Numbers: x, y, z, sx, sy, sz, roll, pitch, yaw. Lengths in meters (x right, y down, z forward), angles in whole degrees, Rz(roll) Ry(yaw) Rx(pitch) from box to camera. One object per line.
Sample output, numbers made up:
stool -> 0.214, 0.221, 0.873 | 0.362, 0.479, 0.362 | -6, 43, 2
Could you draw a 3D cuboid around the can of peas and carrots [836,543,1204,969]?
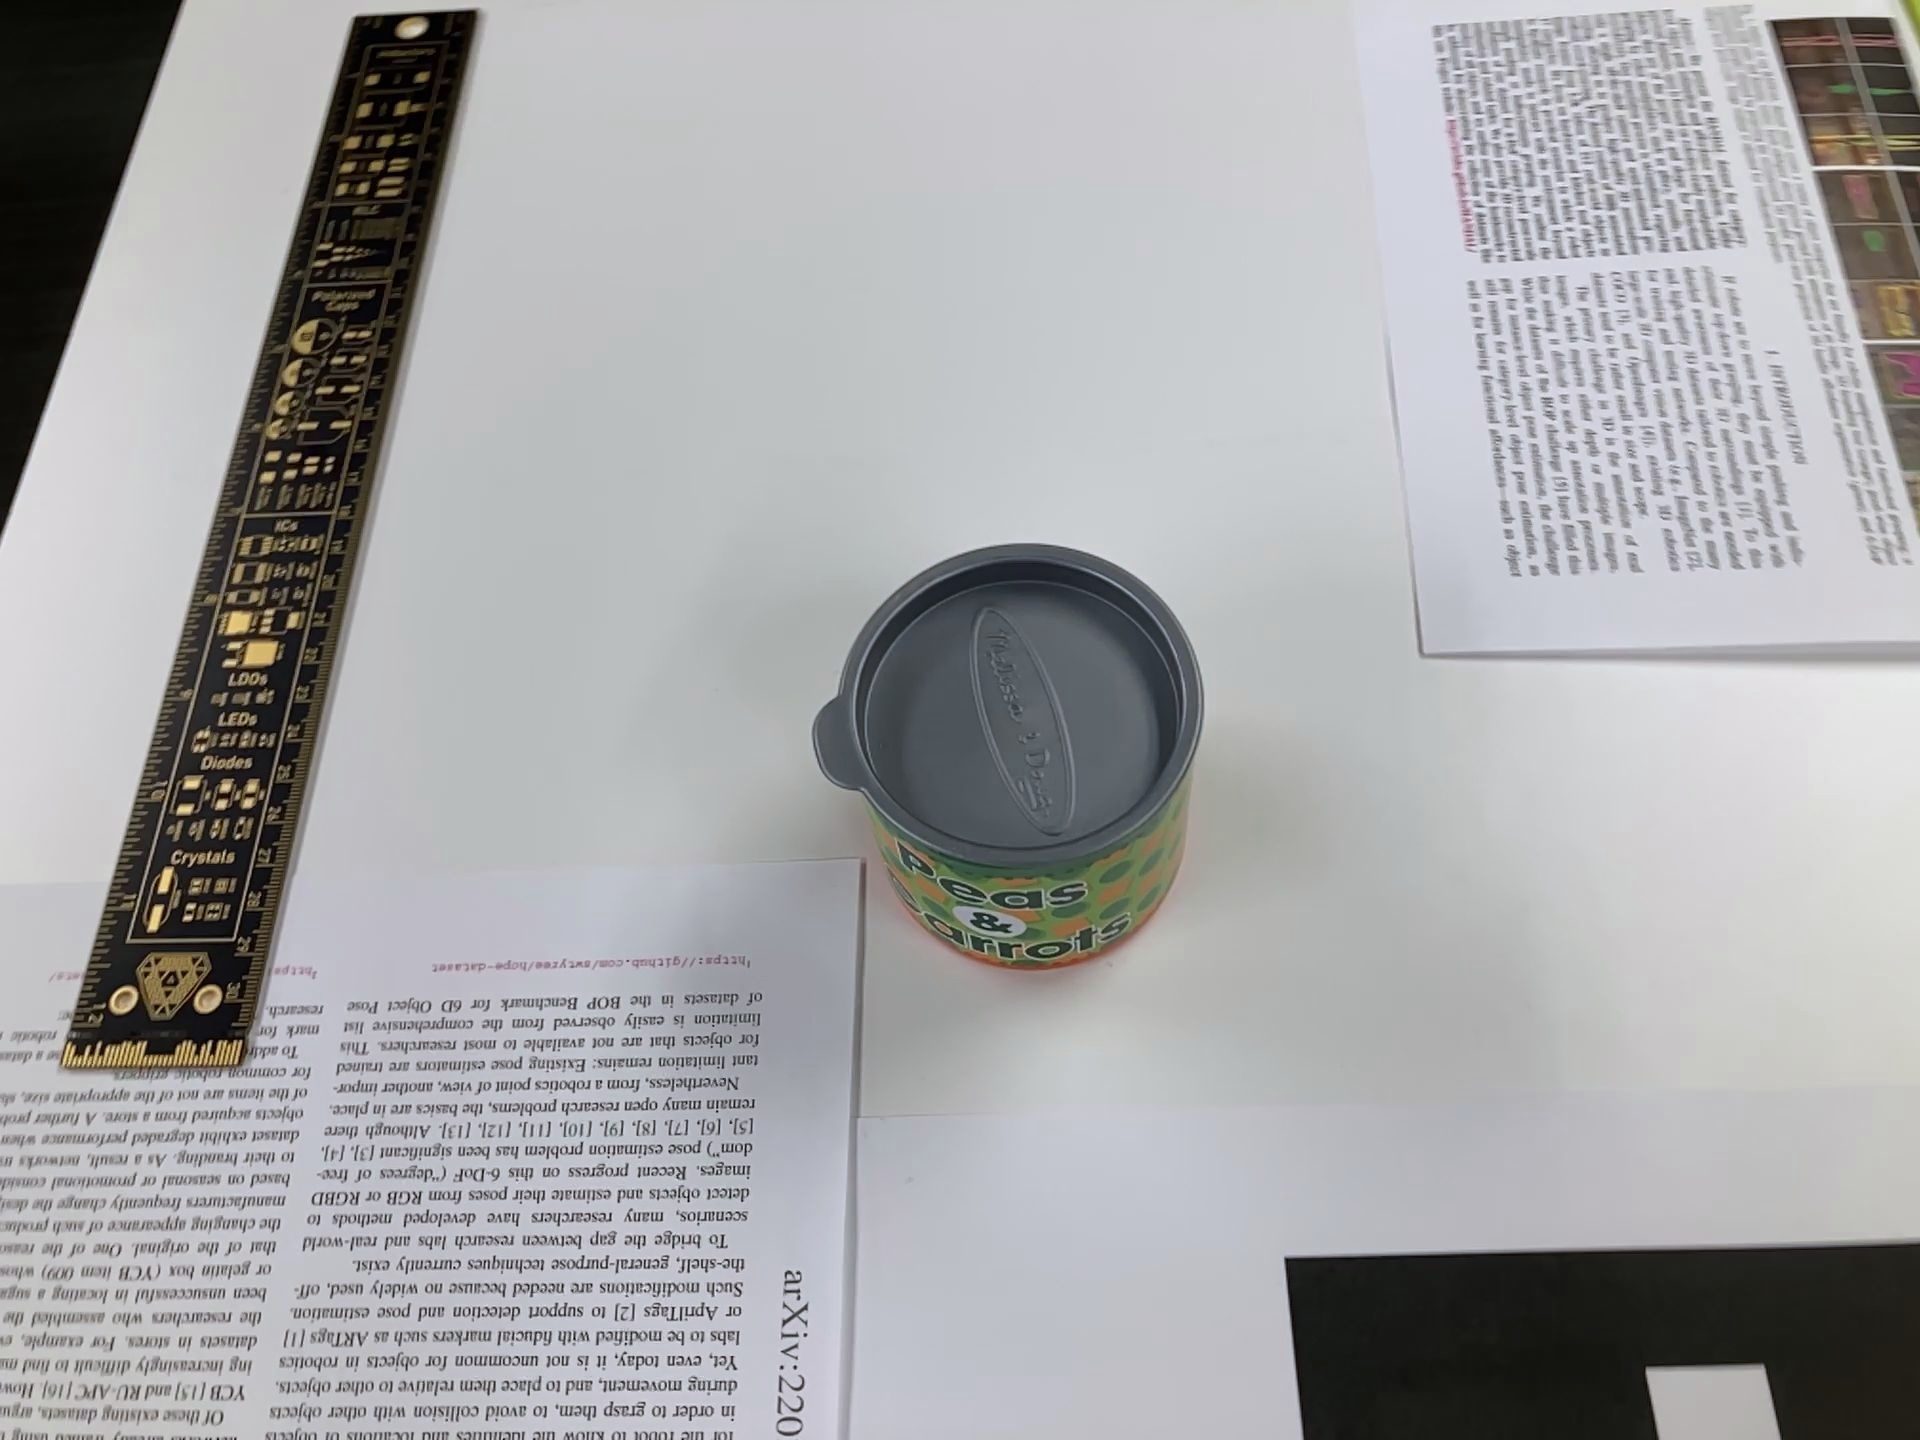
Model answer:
can of peas and carrots -> 0.012, 0.011, 0.309 | 0.071, 0.059, 0.071 | -2, 62, 4
